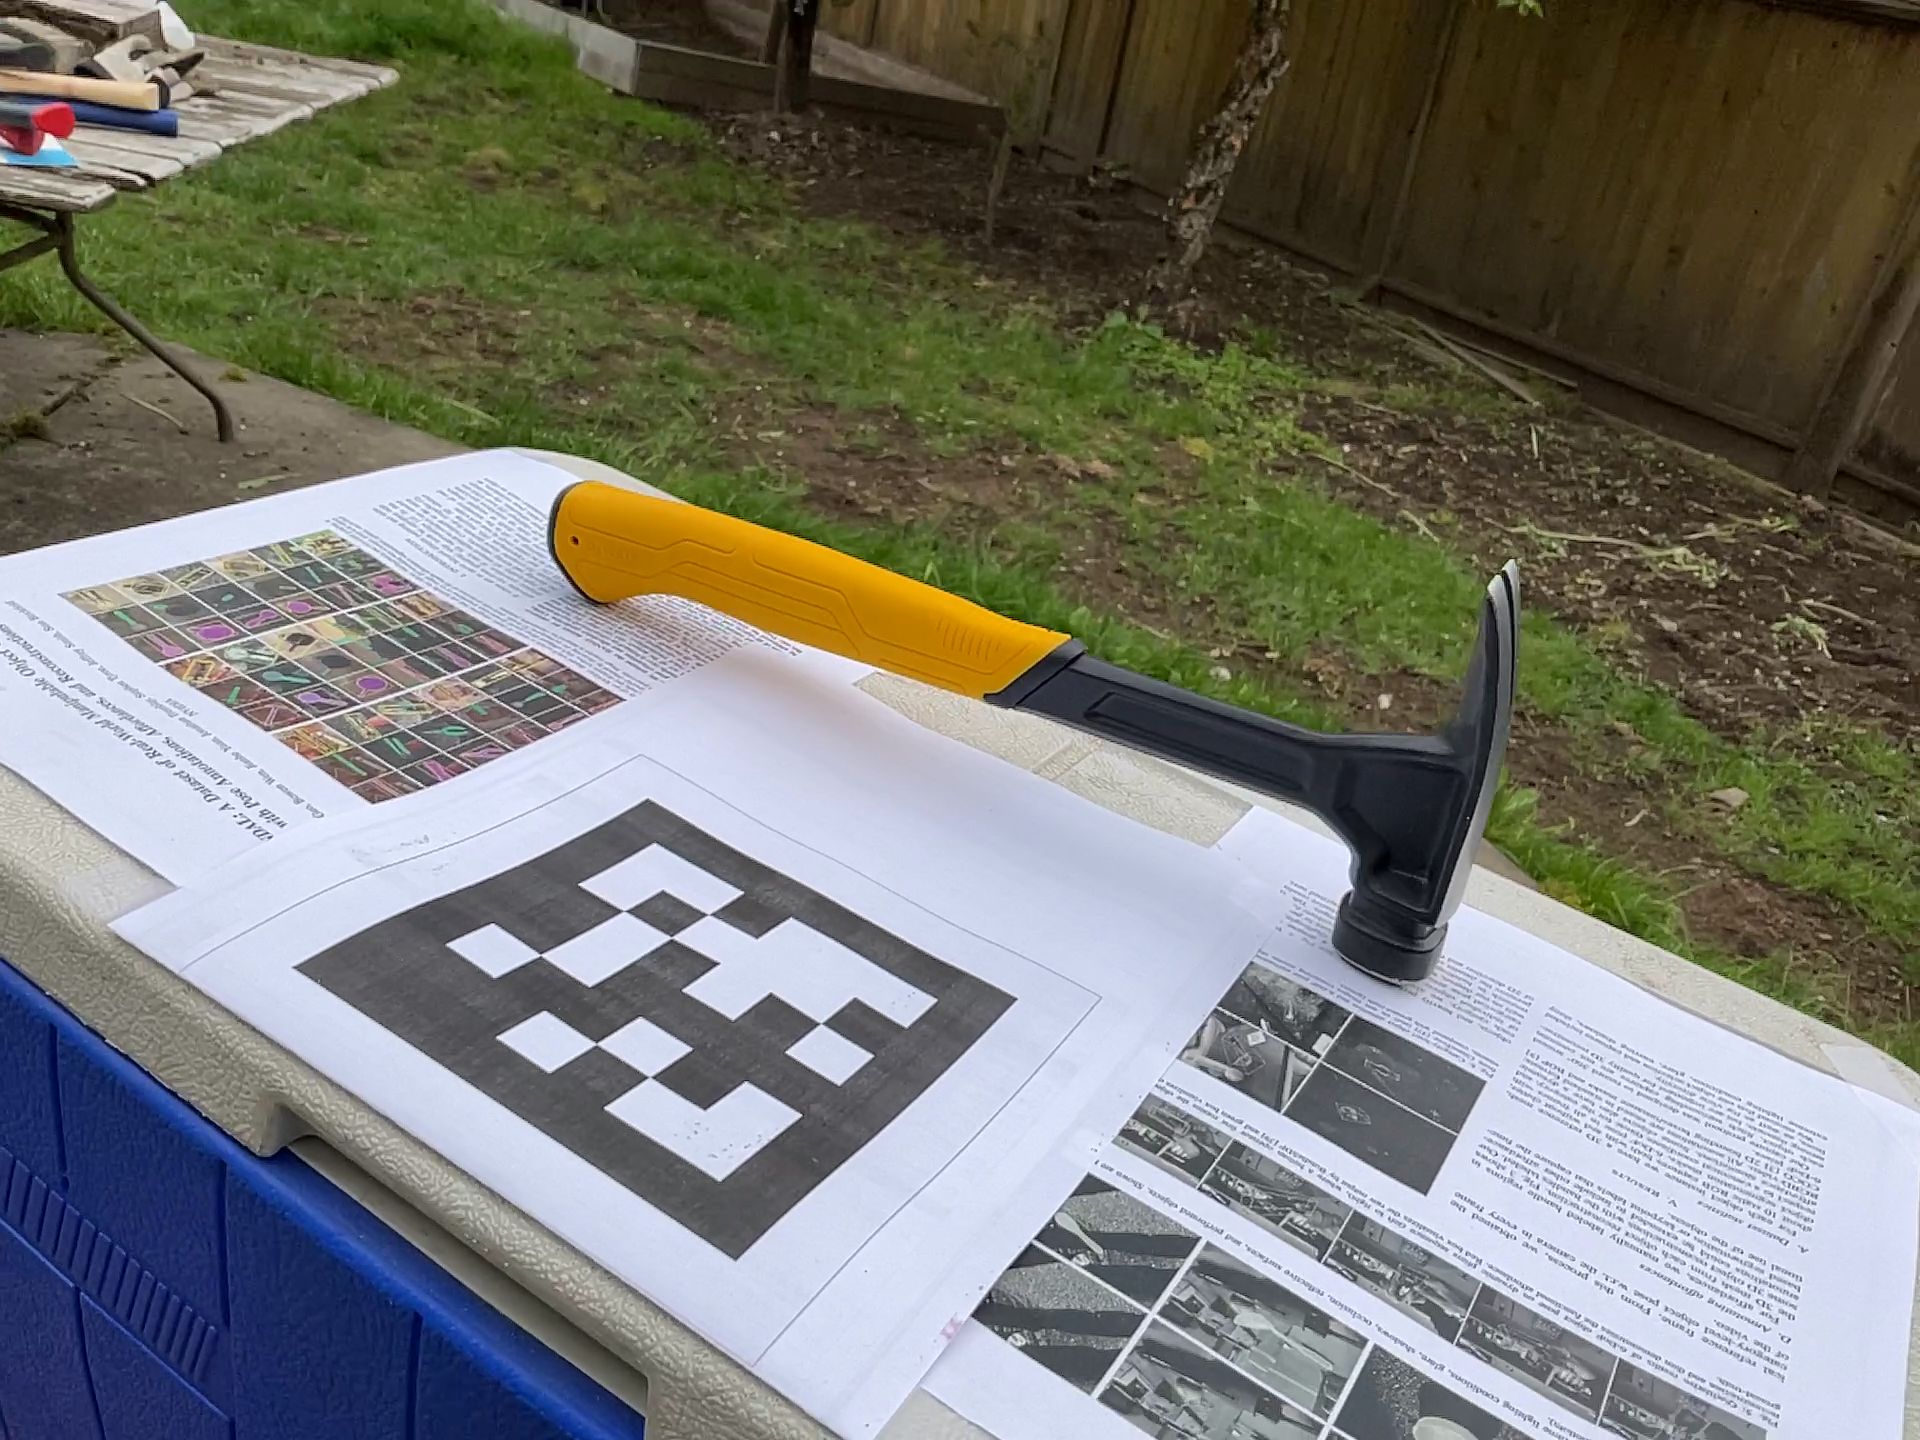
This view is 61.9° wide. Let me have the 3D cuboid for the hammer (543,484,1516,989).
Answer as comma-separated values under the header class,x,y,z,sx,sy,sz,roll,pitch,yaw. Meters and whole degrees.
class,x,y,z,sx,sy,sz,roll,pitch,yaw
hammer,0.003,-0.028,0.518,0.337,0.127,0.034,19,27,23
